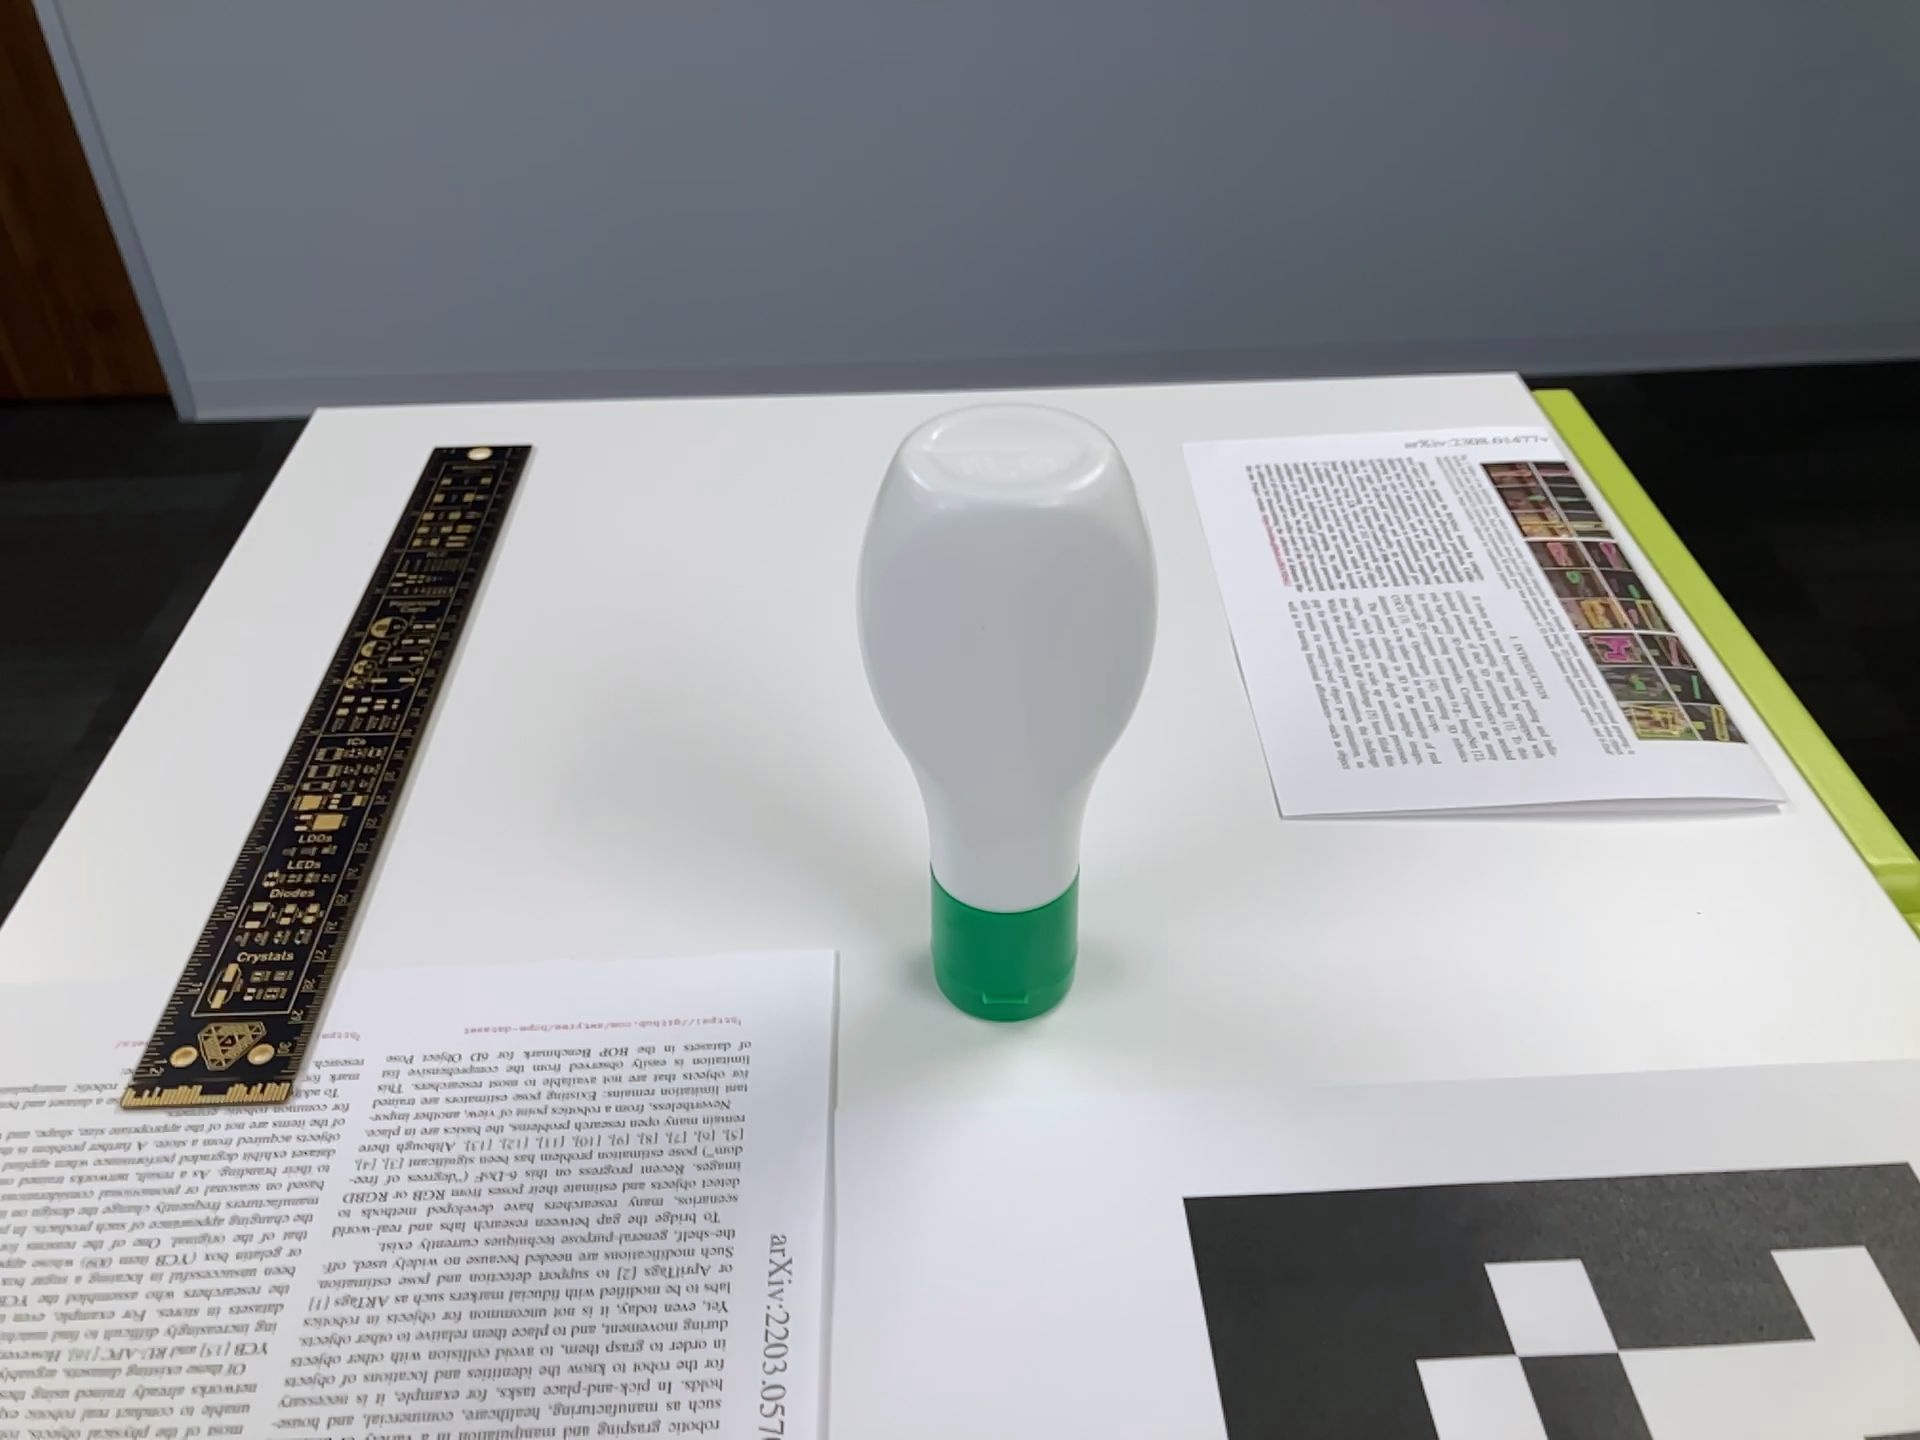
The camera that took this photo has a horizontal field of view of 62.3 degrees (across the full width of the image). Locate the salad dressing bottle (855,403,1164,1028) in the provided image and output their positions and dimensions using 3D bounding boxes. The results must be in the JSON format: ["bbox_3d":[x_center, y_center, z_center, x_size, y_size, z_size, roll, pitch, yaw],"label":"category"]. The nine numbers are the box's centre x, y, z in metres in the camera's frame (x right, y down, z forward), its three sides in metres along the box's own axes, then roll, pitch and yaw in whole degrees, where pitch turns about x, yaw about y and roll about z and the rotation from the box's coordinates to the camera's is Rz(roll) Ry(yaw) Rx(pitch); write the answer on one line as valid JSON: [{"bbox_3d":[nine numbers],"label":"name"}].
[{"bbox_3d":[0.010,0.006,0.354,0.064,0.147,0.044,-1,37,0],"label":"salad dressing bottle"}]
